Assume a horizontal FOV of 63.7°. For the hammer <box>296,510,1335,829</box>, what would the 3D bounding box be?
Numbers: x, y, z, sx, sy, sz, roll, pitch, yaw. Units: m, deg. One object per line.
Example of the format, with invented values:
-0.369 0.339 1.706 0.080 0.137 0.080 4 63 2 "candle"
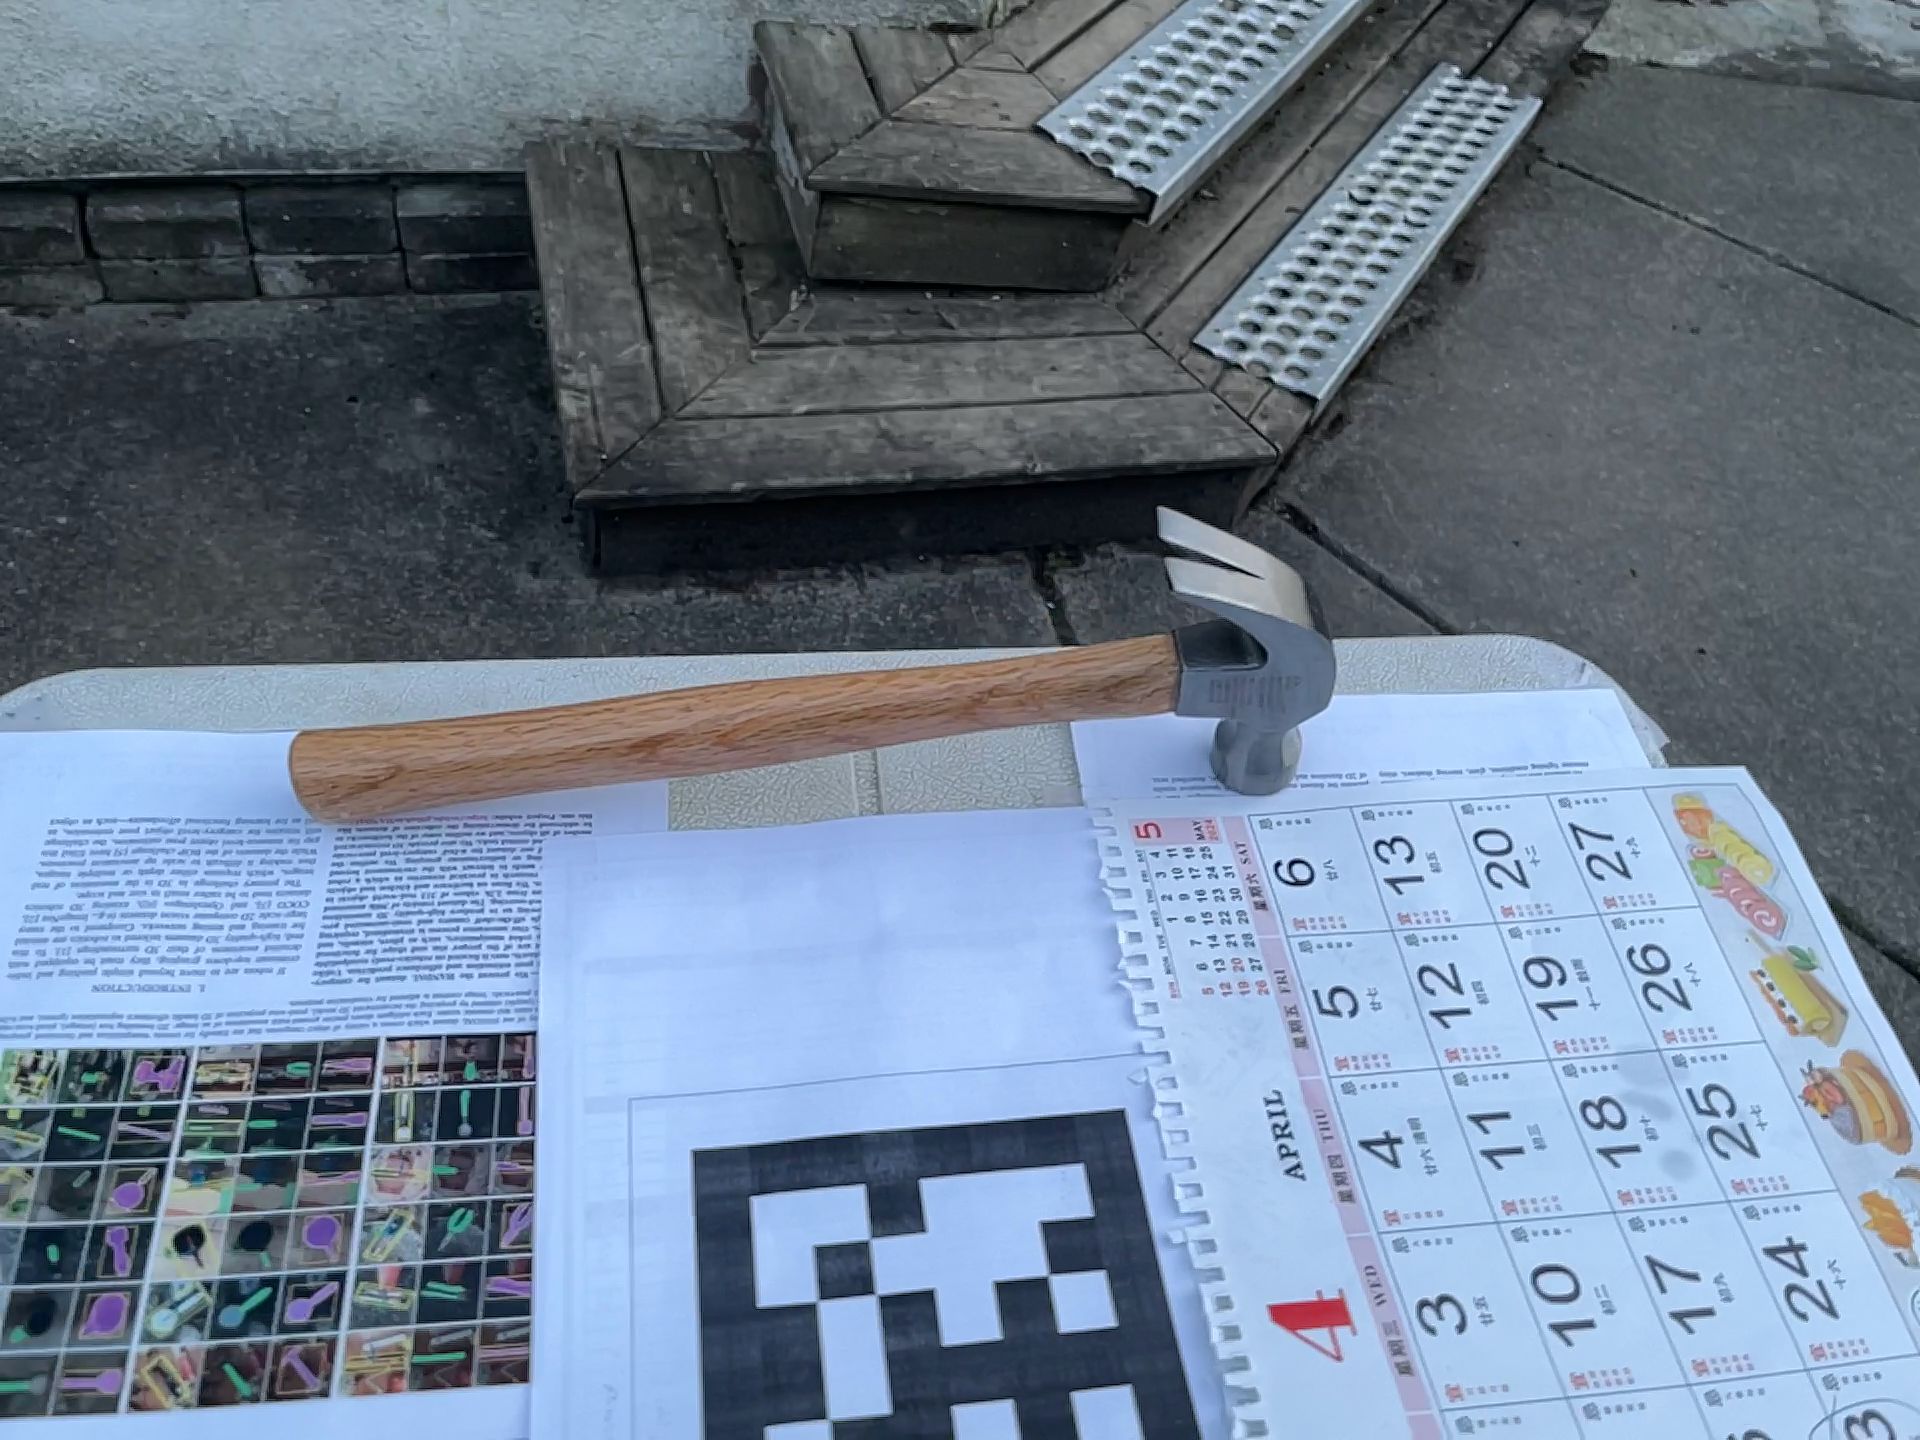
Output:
-0.043 -0.002 0.499 0.331 0.130 0.031 -7 57 -3 "hammer"
